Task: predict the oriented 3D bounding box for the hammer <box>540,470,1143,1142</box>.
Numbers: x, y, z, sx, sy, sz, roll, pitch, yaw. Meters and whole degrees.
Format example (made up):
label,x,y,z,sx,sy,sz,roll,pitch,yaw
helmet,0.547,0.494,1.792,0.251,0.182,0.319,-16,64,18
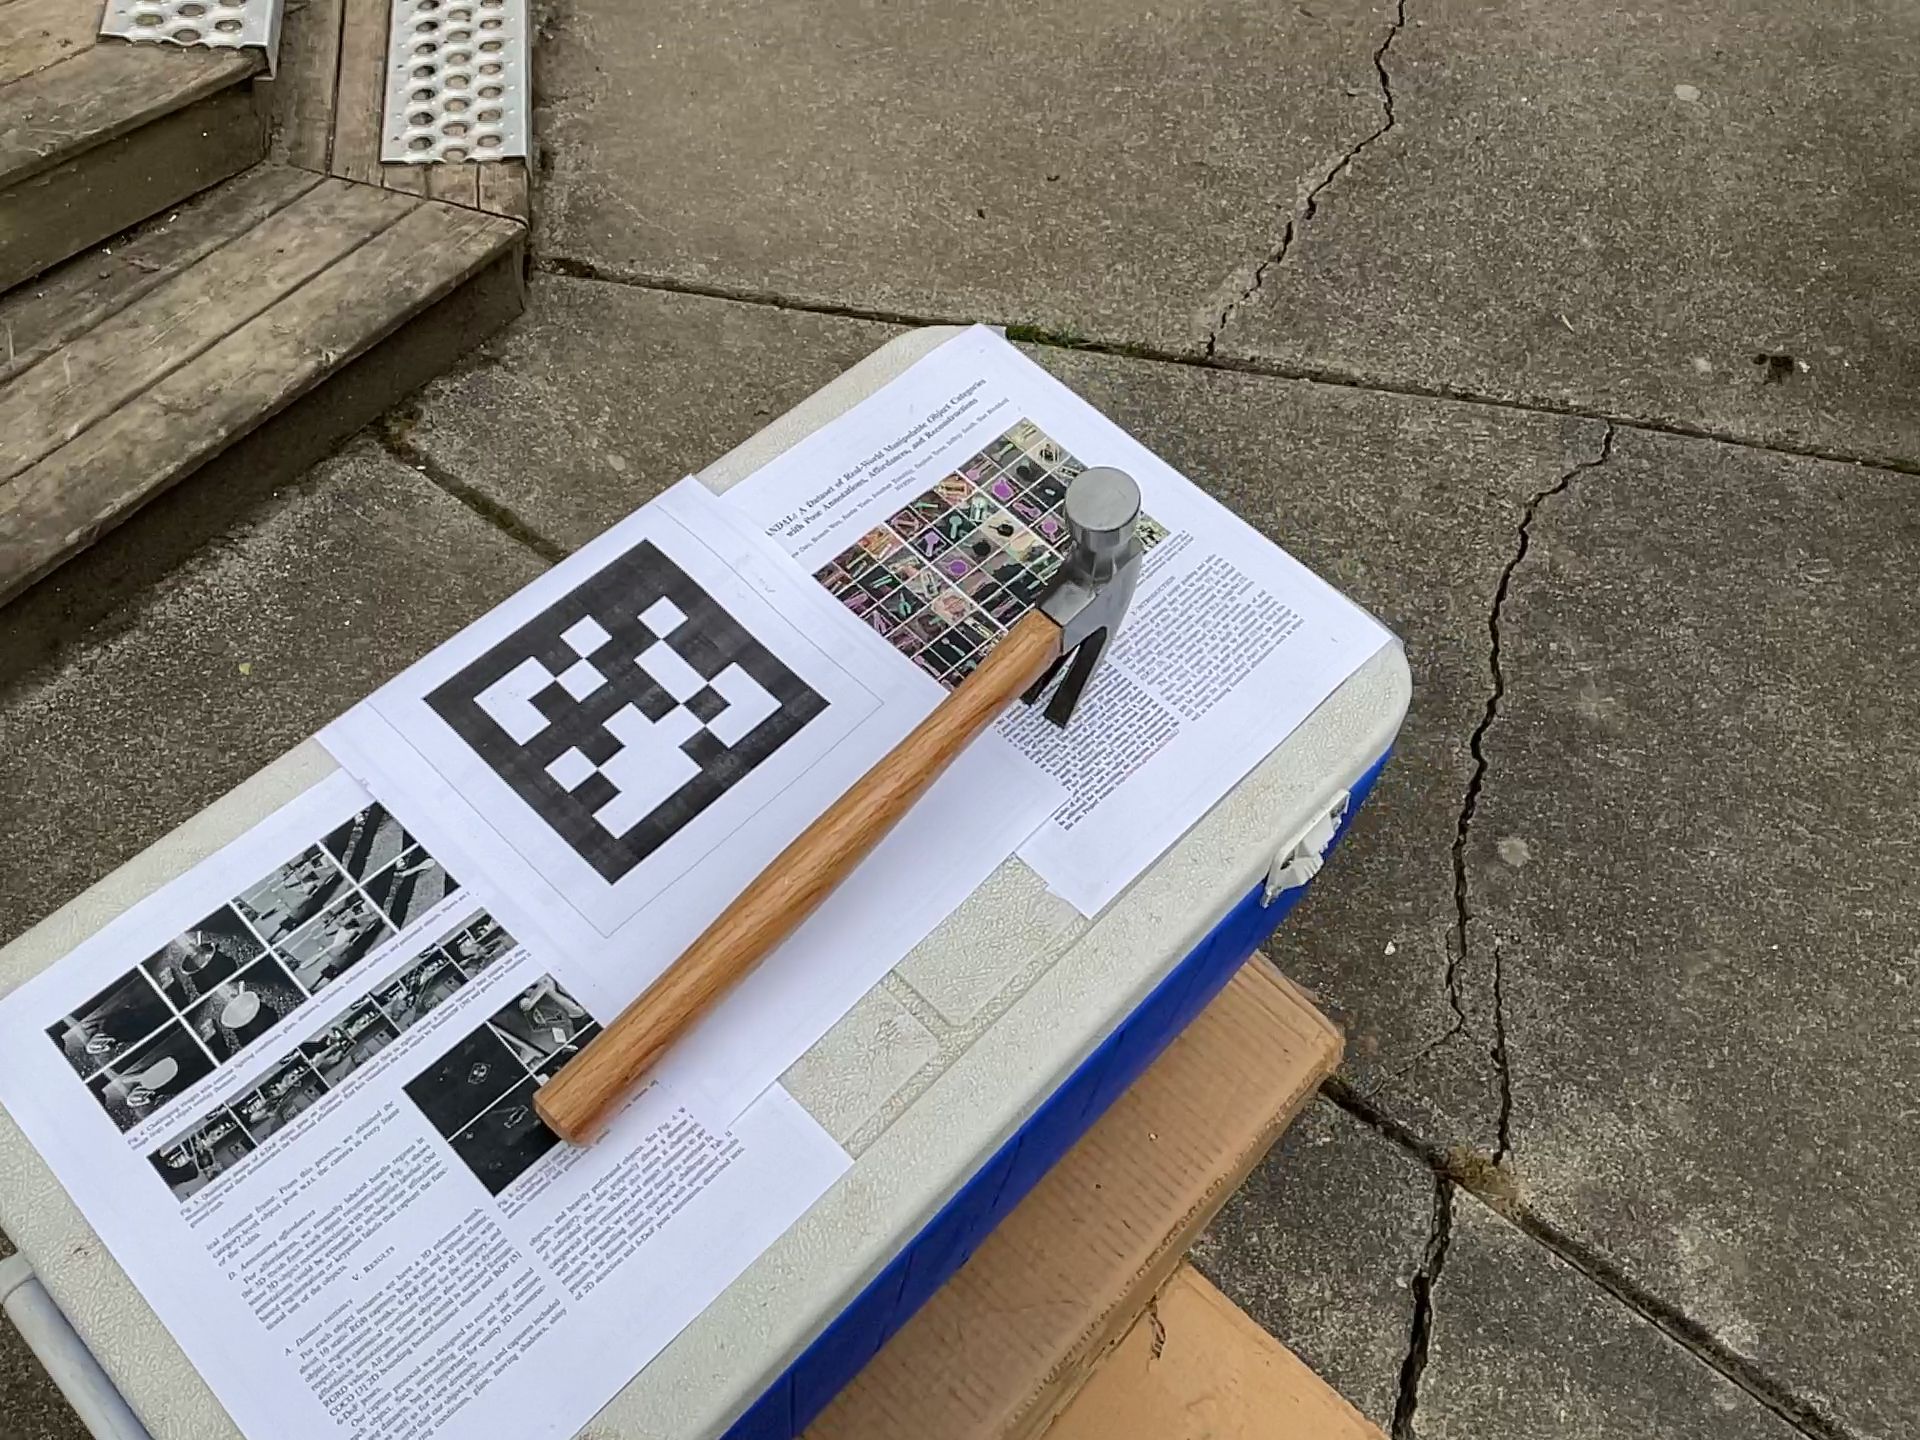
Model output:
label,x,y,z,sx,sy,sz,roll,pitch,yaw
hammer,-0.040,0.041,0.657,0.031,0.130,0.331,39,74,20
